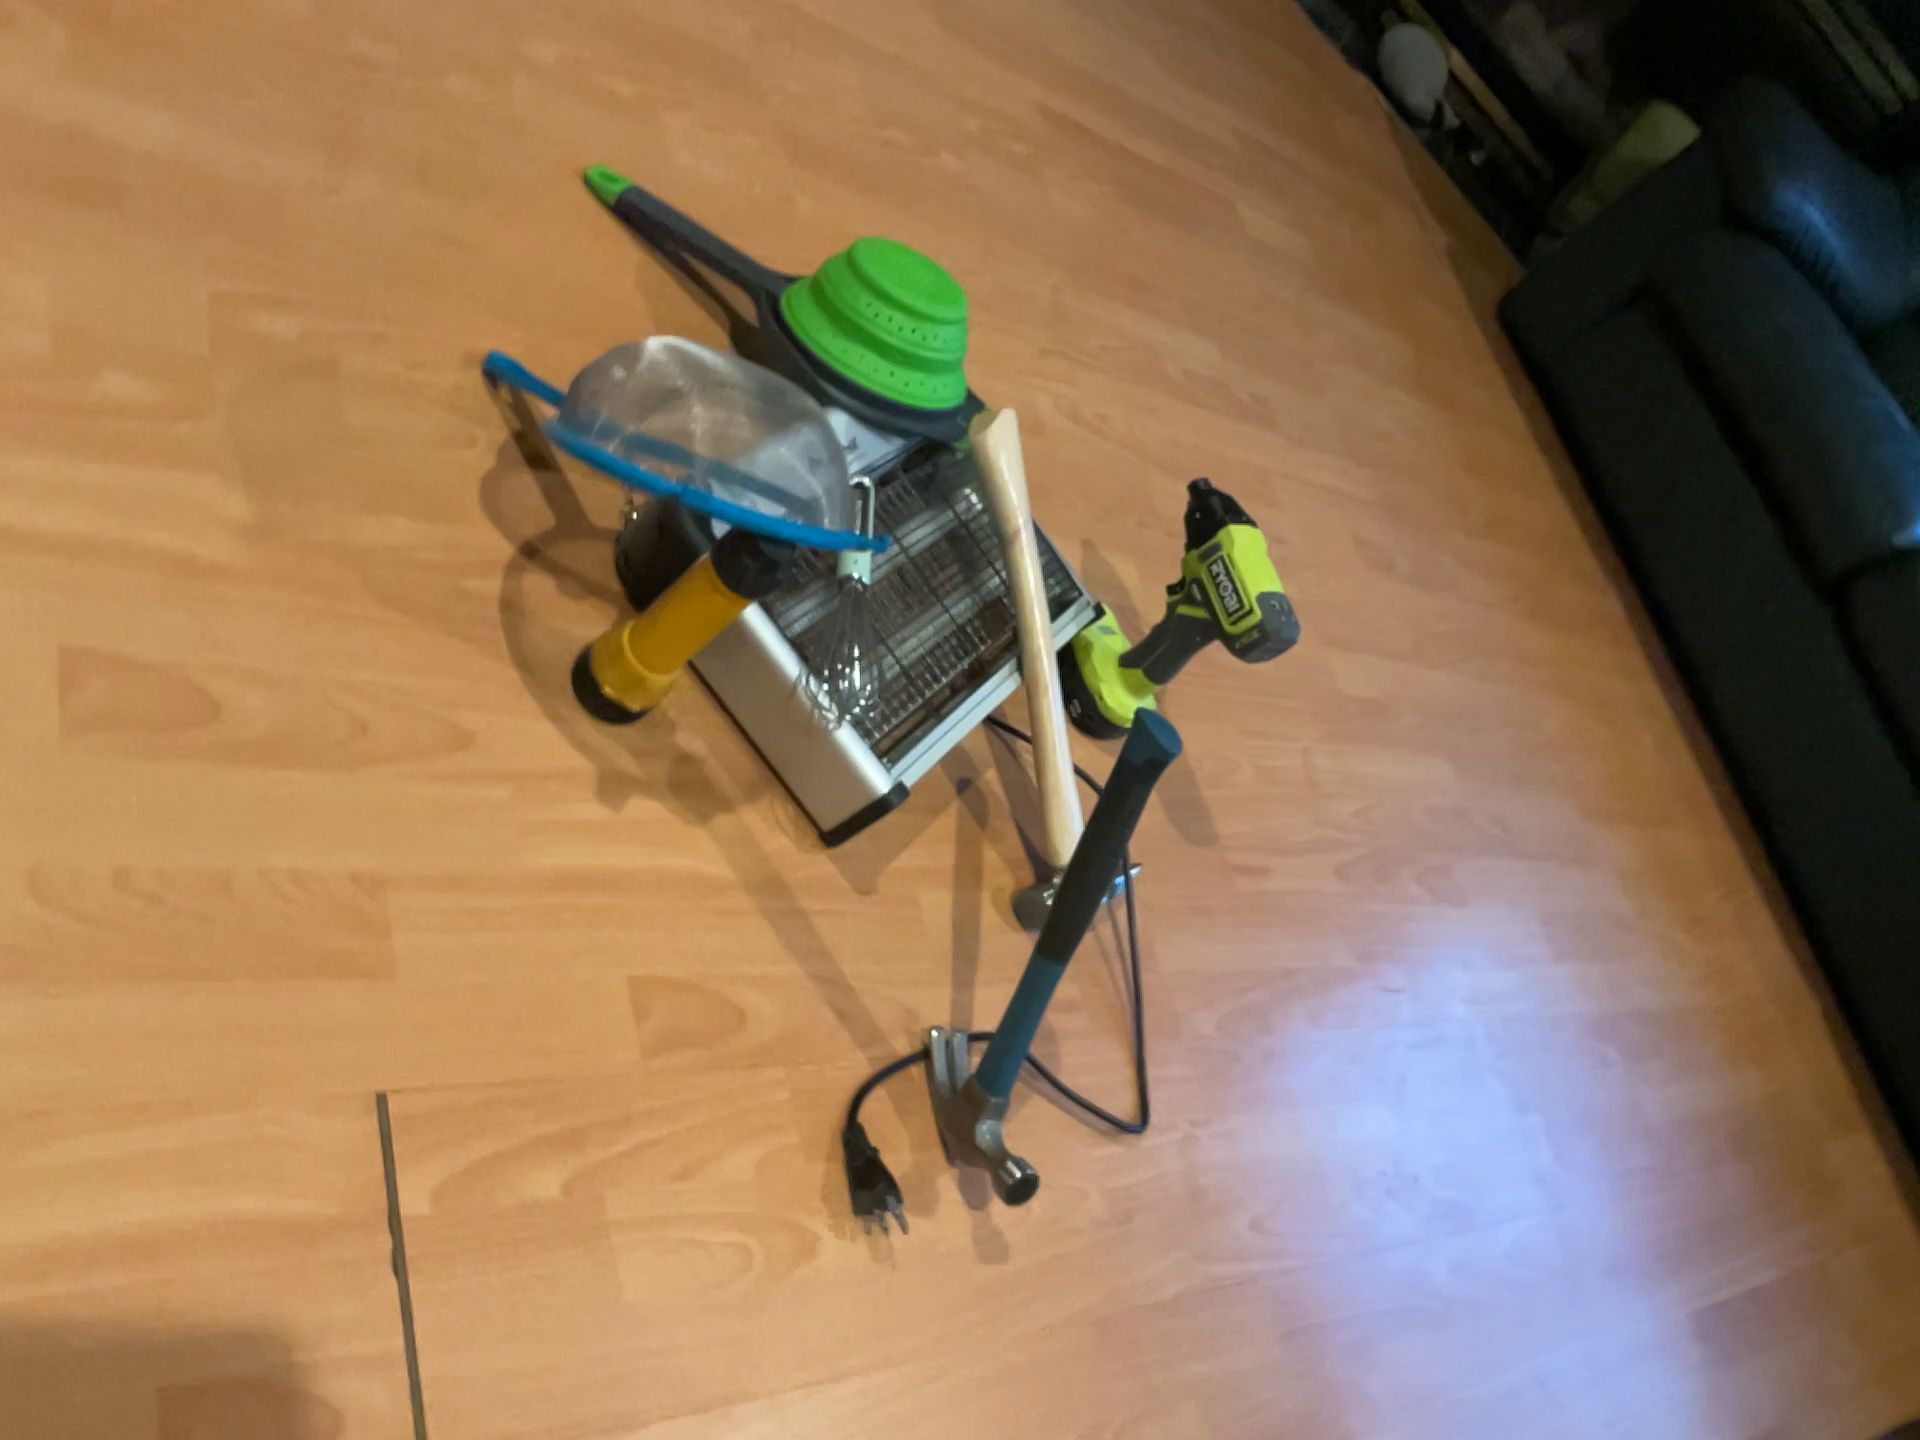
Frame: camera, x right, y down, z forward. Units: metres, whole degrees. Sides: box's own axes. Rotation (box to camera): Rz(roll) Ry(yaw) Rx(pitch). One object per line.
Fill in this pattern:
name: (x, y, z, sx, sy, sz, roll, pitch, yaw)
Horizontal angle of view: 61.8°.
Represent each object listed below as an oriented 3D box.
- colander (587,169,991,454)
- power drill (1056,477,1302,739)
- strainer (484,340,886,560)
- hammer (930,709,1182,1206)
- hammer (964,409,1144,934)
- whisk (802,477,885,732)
colander: (-0.129, -0.377, 1.342, 0.397, 0.094, 0.205, 33, 33, -1)
power drill: (0.181, -0.095, 1.425, 0.080, 0.223, 0.171, 3, 61, -46)
strainer: (-0.202, -0.218, 1.077, 0.340, 0.095, 0.211, 32, 14, 31)
hammer: (0.068, 0.150, 1.080, 0.033, 0.330, 0.128, 15, 13, -39)
hammer: (0.068, -0.044, 1.296, 0.146, 0.038, 0.410, -18, 100, -50)
whisk: (-0.079, -0.091, 1.164, 0.058, 0.059, 0.246, 7, 49, -8)
